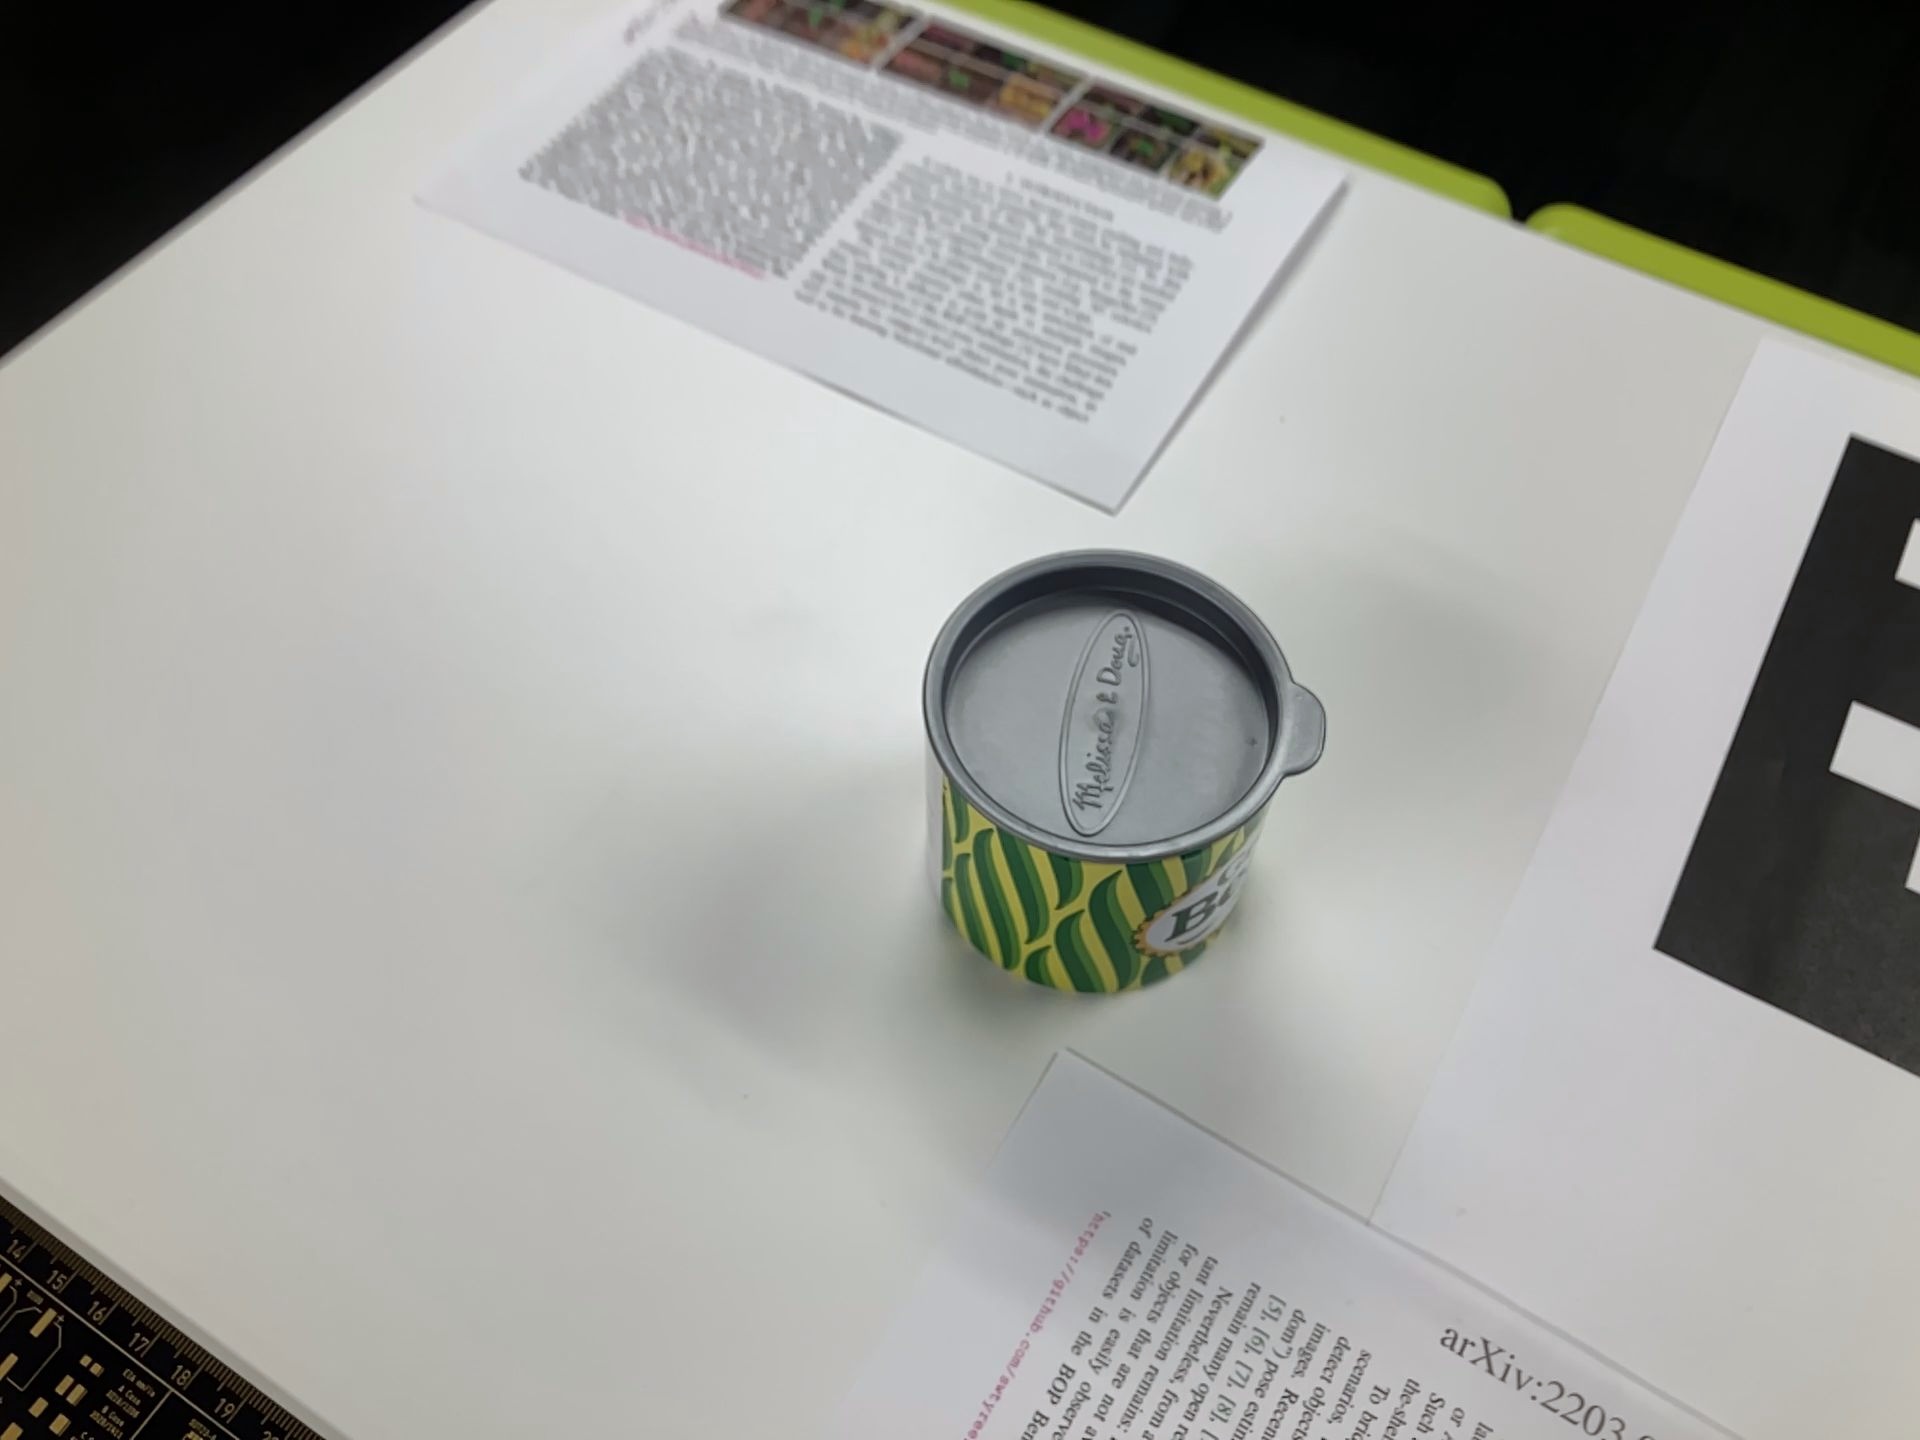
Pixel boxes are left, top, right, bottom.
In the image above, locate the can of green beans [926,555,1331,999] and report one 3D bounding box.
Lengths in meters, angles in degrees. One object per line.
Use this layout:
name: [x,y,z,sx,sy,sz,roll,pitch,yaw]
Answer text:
can of green beans: [0.027,0.012,0.306,0.071,0.058,0.071,0,57,0]
